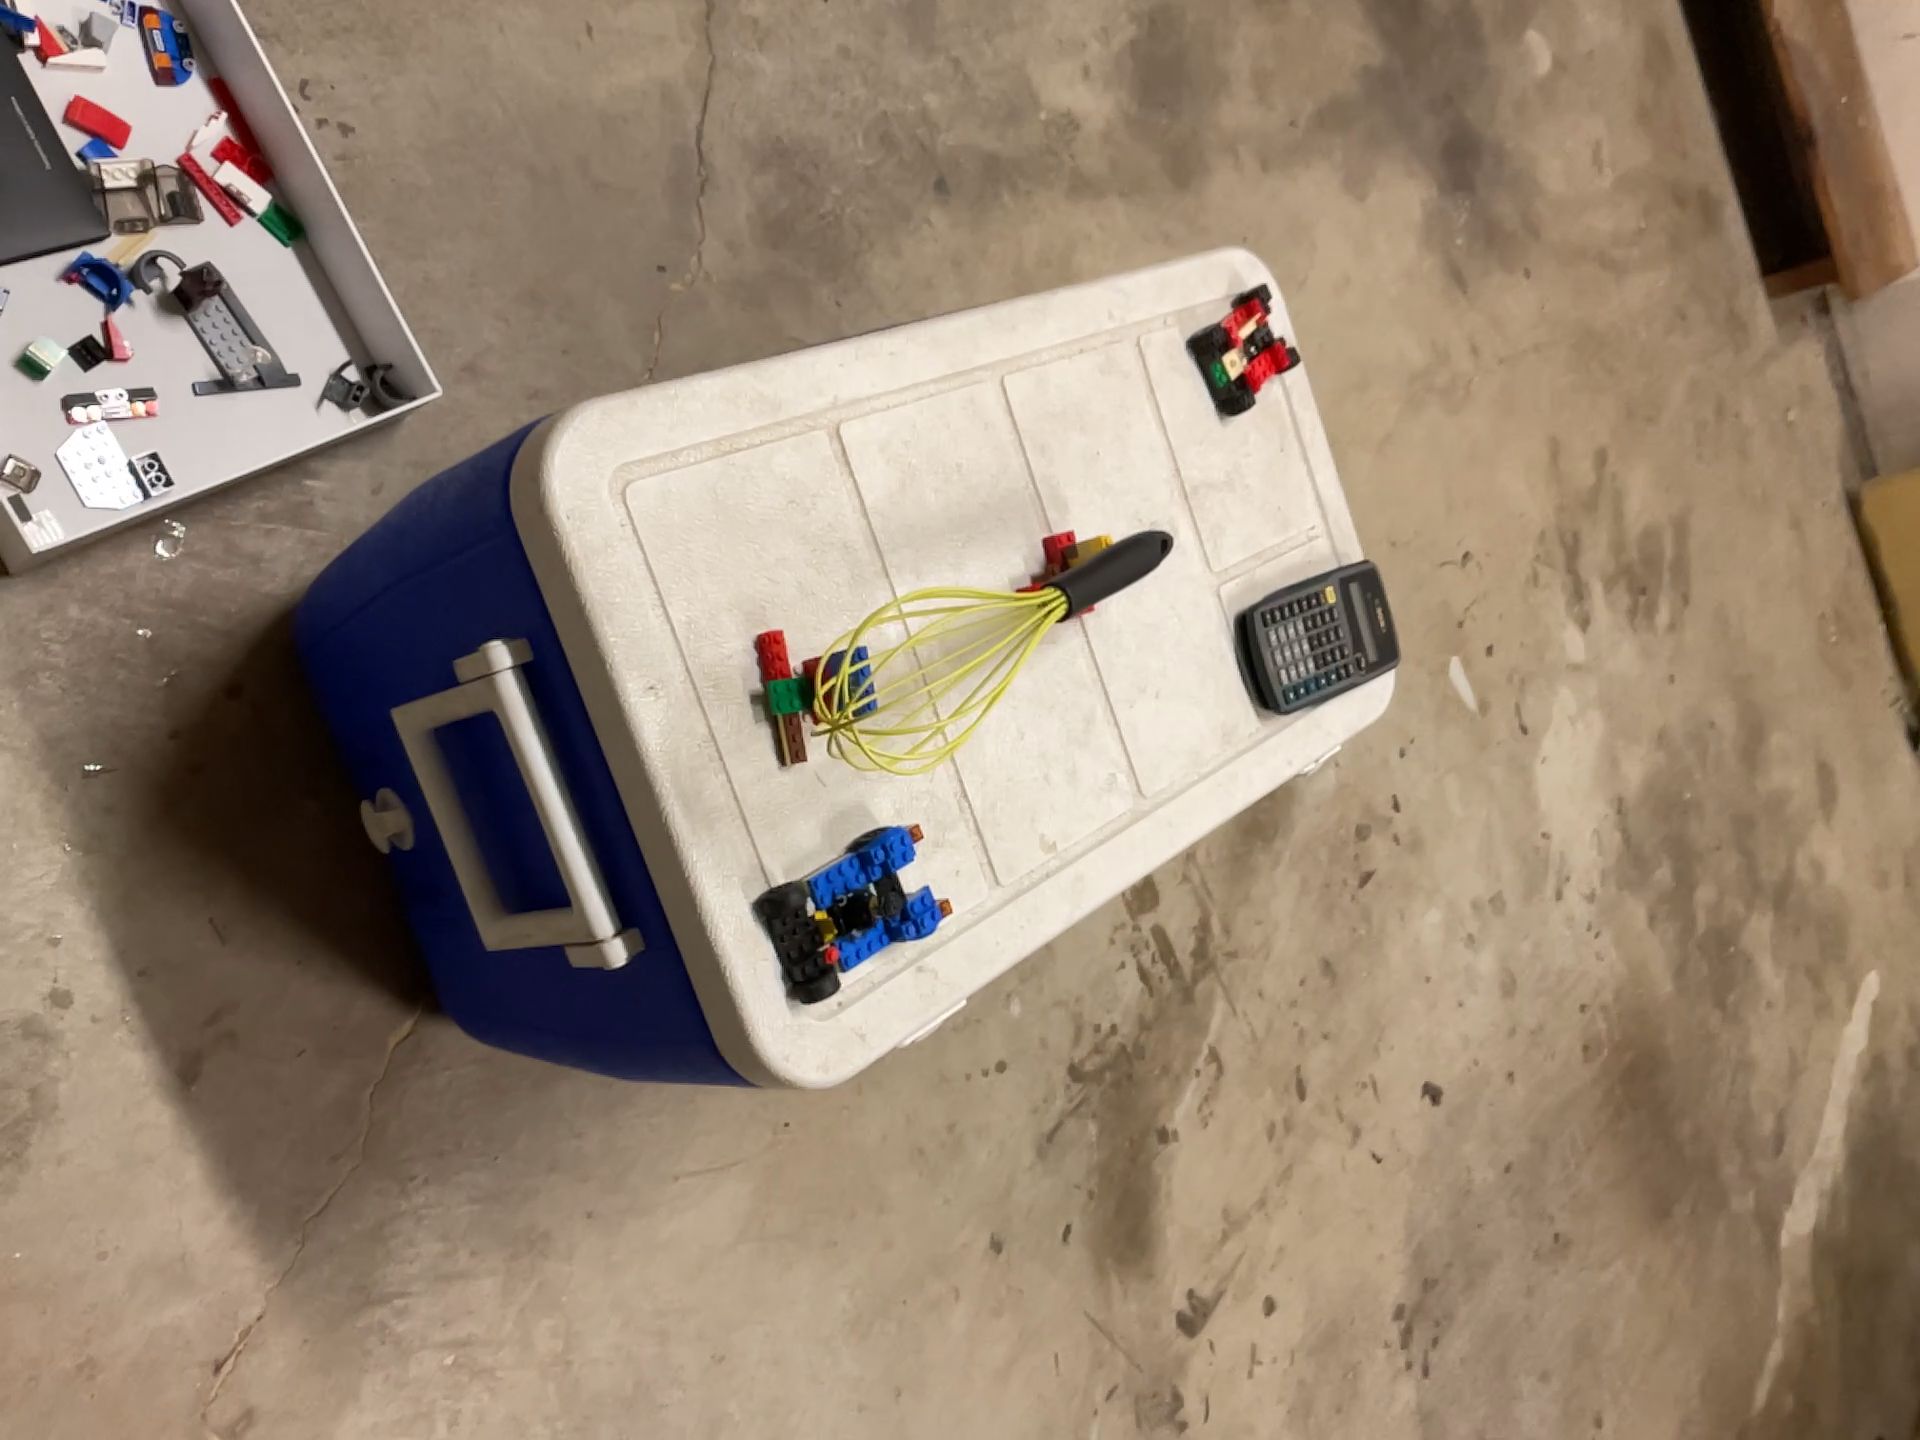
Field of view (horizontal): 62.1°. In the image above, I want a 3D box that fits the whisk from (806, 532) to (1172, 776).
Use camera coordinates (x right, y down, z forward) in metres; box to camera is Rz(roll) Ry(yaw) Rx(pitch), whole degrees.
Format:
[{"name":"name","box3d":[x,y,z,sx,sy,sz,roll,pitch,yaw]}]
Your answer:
[{"name":"whisk","box3d":[0.029,-0.049,0.777,0.312,0.067,0.079,-32,150,-50]}]
